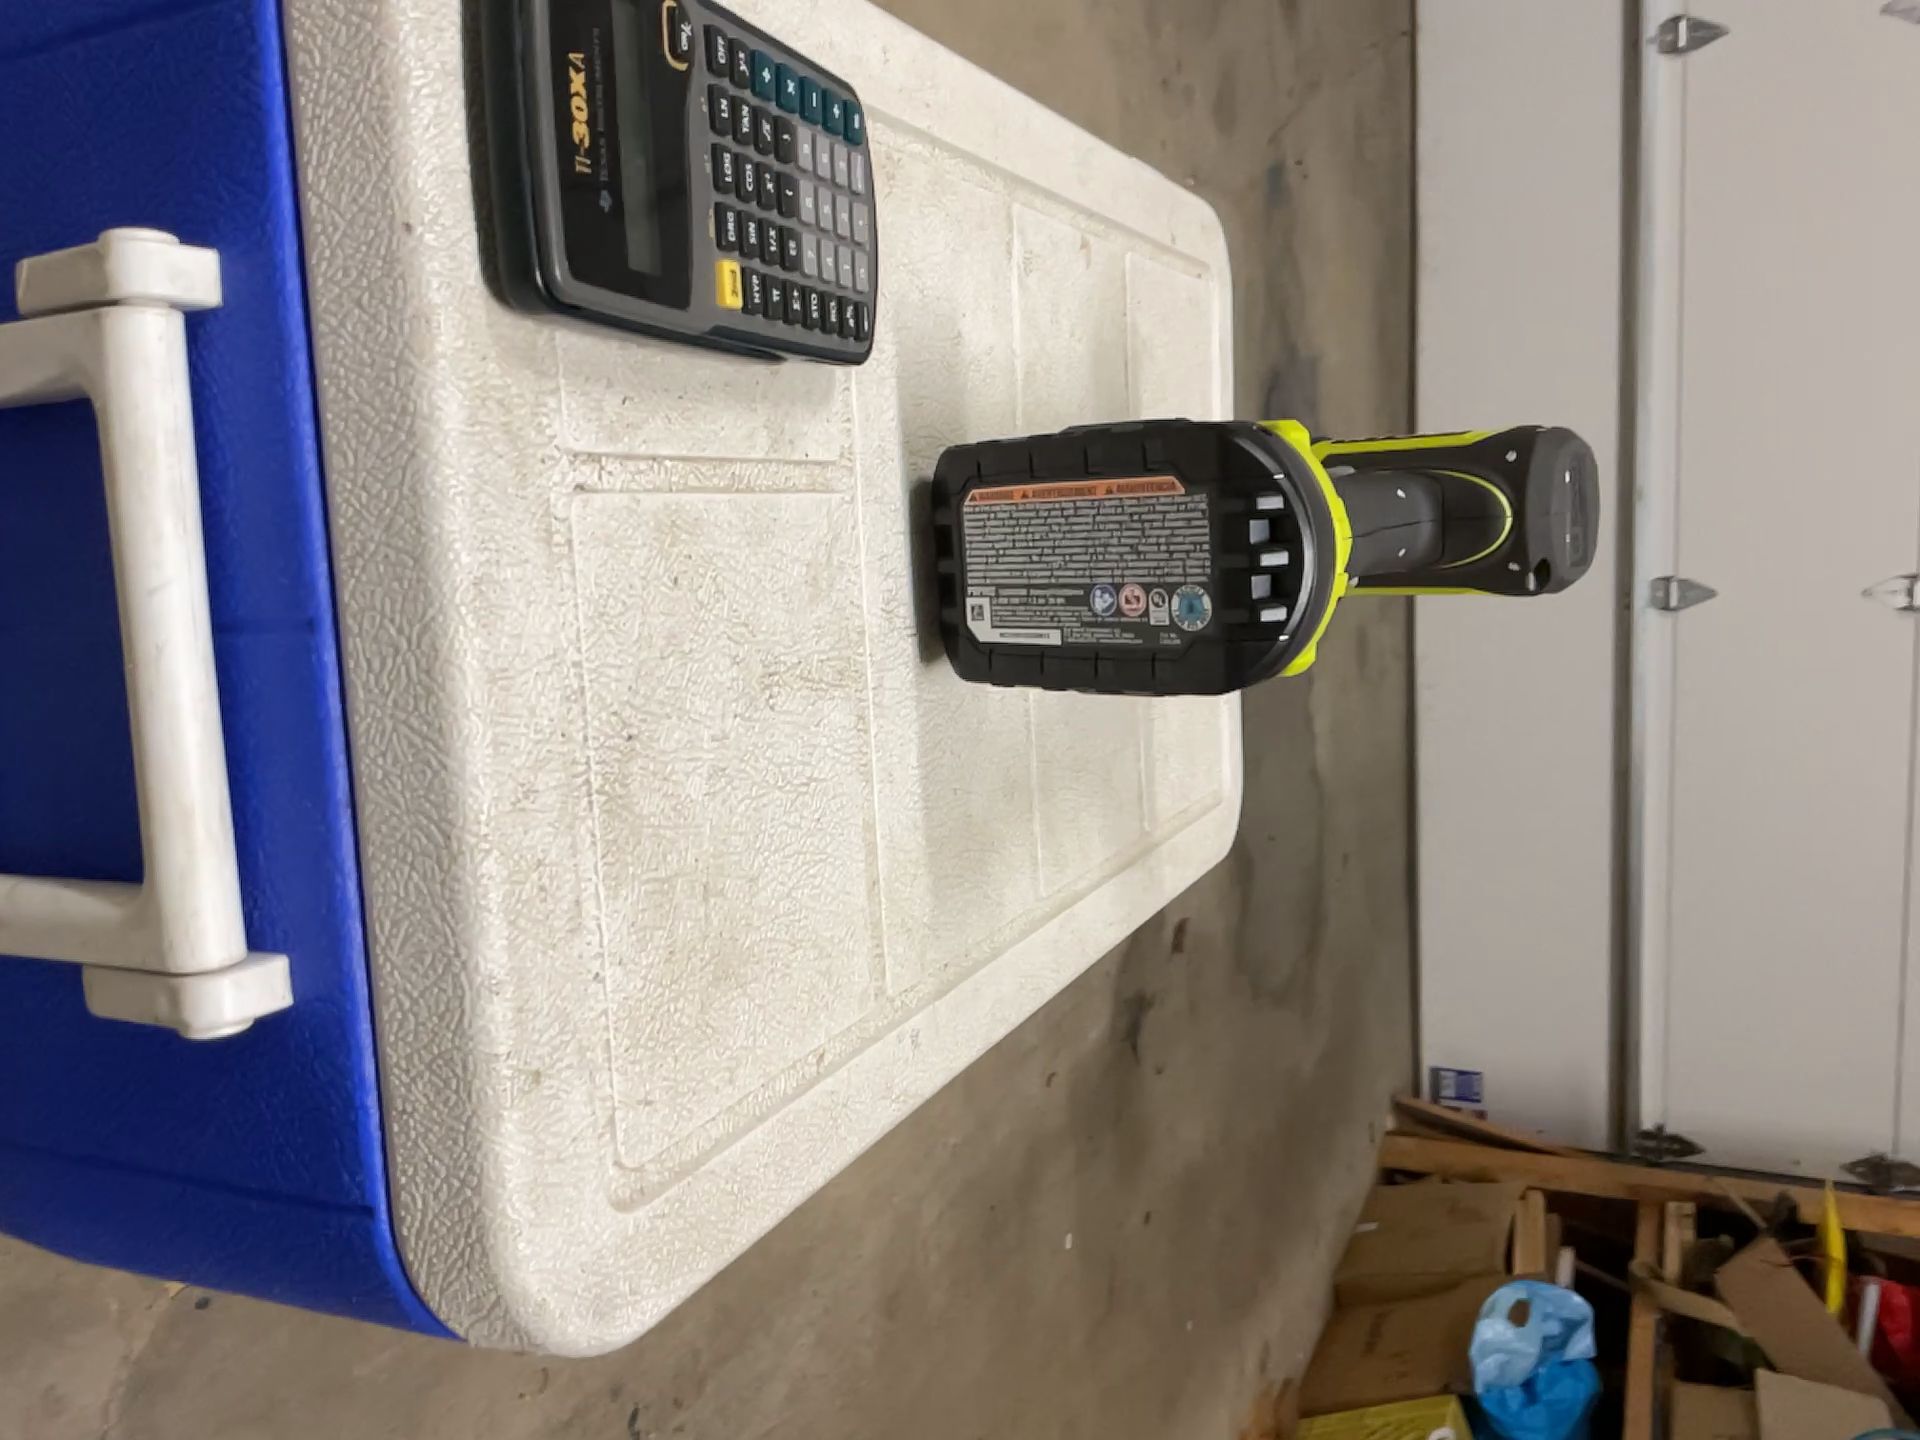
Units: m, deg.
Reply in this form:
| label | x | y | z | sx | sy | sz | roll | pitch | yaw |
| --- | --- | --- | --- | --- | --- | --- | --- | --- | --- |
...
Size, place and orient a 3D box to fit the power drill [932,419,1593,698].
| label | x | y | z | sx | sy | sz | roll | pitch | yaw |
| --- | --- | --- | --- | --- | --- | --- | --- | --- | --- |
| power drill | 0.094 | -0.065 | 0.566 | 0.229 | 0.190 | 0.080 | -15 | 104 | -50 |
